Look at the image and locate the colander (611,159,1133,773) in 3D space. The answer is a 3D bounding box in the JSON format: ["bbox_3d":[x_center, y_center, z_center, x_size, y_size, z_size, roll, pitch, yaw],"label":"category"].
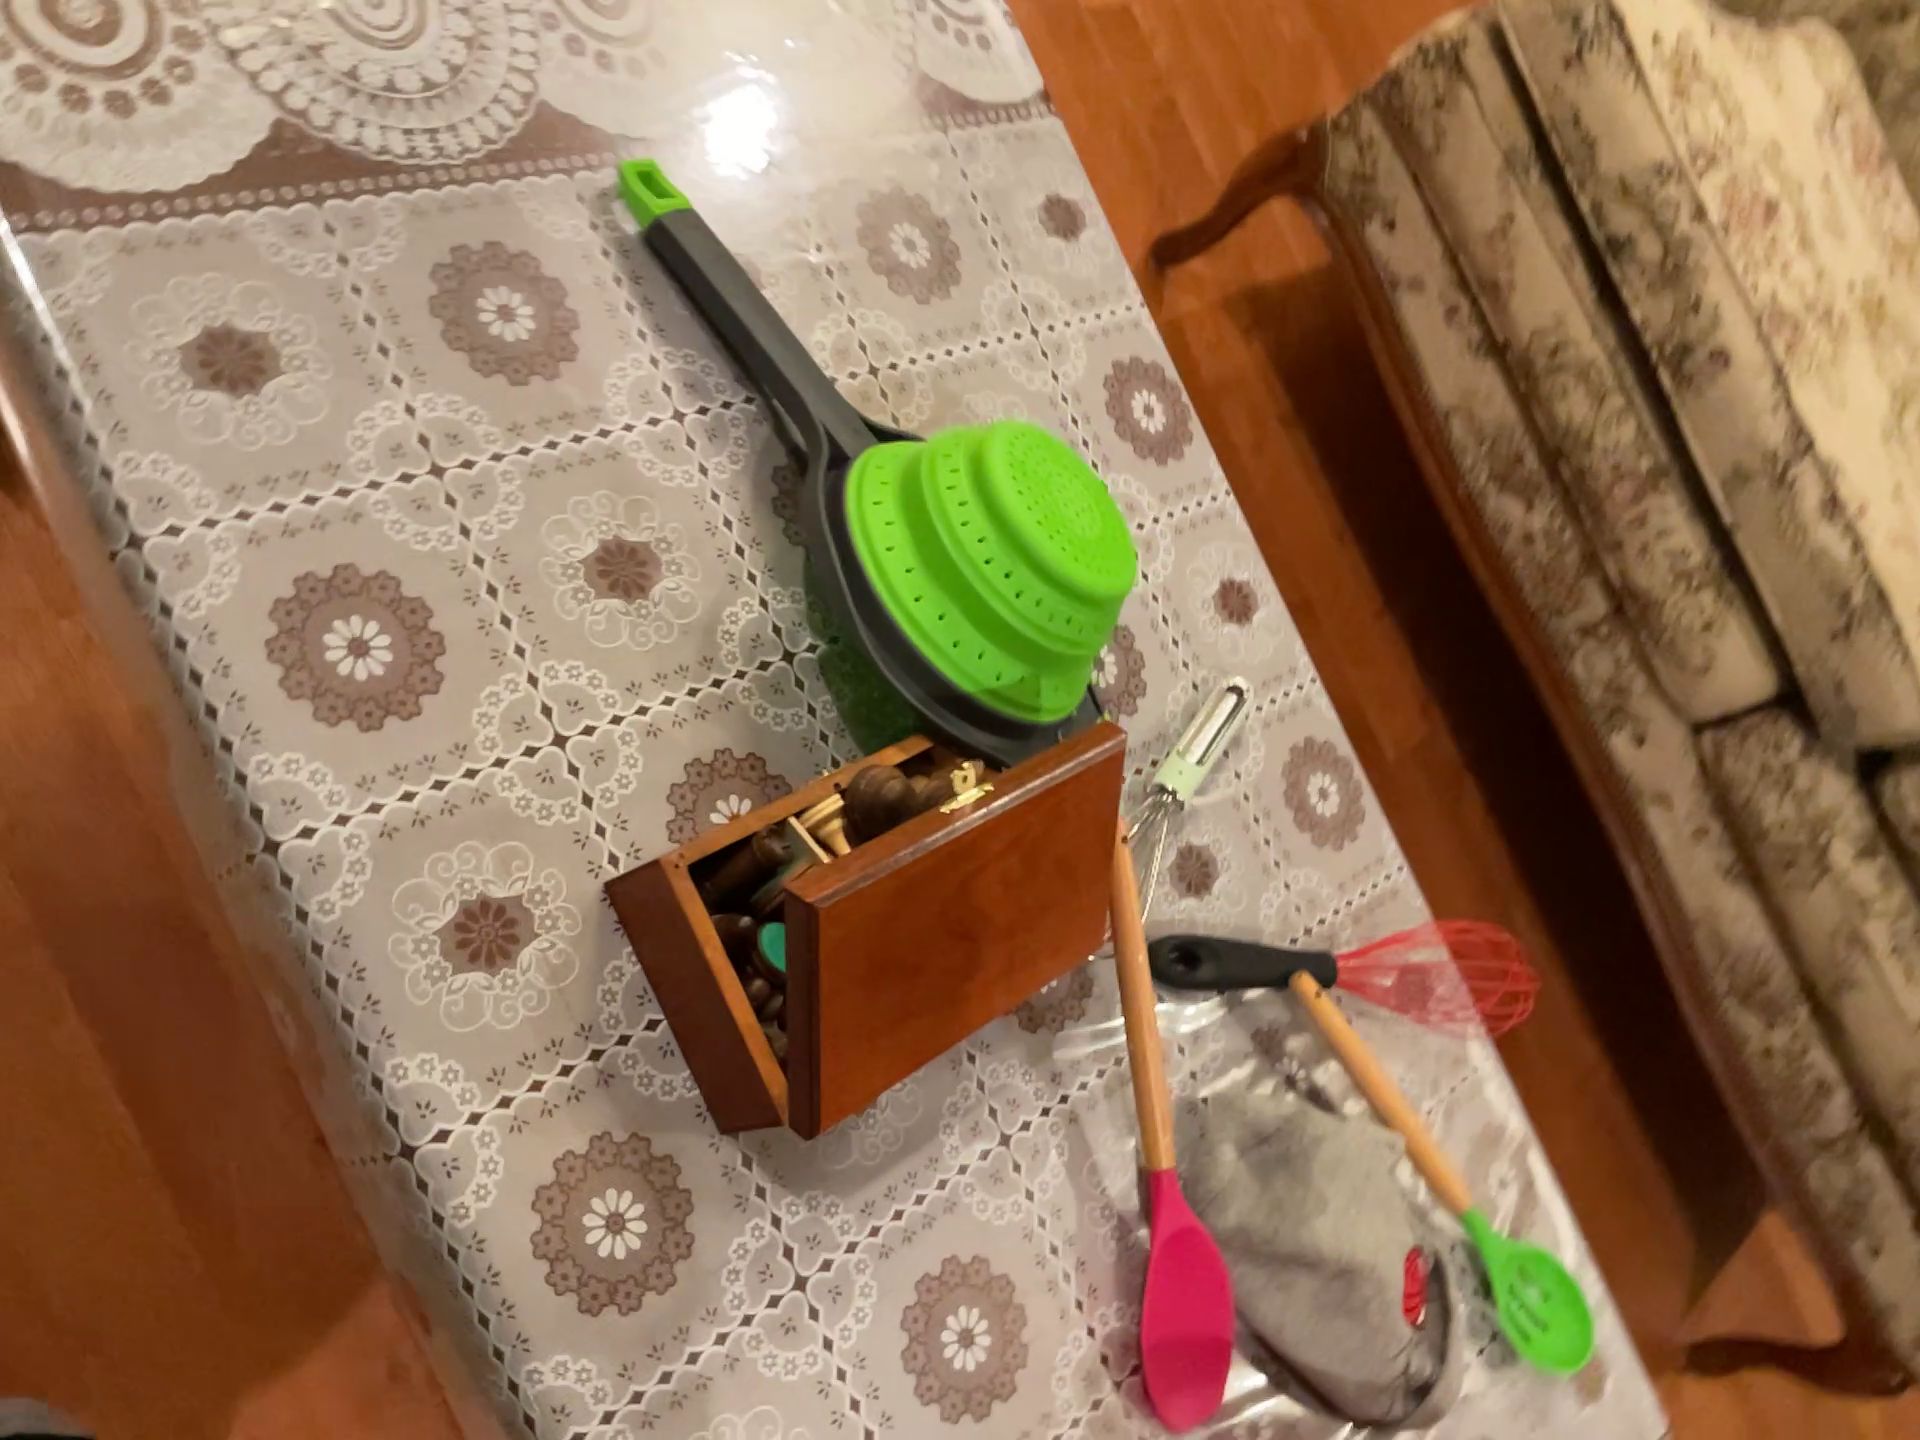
[{"bbox_3d":[-0.029,-0.149,0.812,0.397,0.094,0.204,52,32,-1],"label":"colander"}]

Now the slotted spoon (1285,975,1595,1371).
[{"bbox_3d":[0.285,0.270,0.951,0.313,0.031,0.070,52,52,-13],"label":"slotted spoon"}]

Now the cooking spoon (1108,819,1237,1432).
[{"bbox_3d":[0.101,0.207,0.824,0.068,0.017,0.319,-9,91,-39],"label":"cooking spoon"}]

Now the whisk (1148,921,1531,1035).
[{"bbox_3d":[0.233,0.151,0.953,0.295,0.073,0.073,7,77,-27],"label":"whisk"}]

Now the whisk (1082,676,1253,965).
[{"bbox_3d":[0.111,0.051,0.910,0.246,0.059,0.057,-49,147,-38],"label":"whisk"}]
